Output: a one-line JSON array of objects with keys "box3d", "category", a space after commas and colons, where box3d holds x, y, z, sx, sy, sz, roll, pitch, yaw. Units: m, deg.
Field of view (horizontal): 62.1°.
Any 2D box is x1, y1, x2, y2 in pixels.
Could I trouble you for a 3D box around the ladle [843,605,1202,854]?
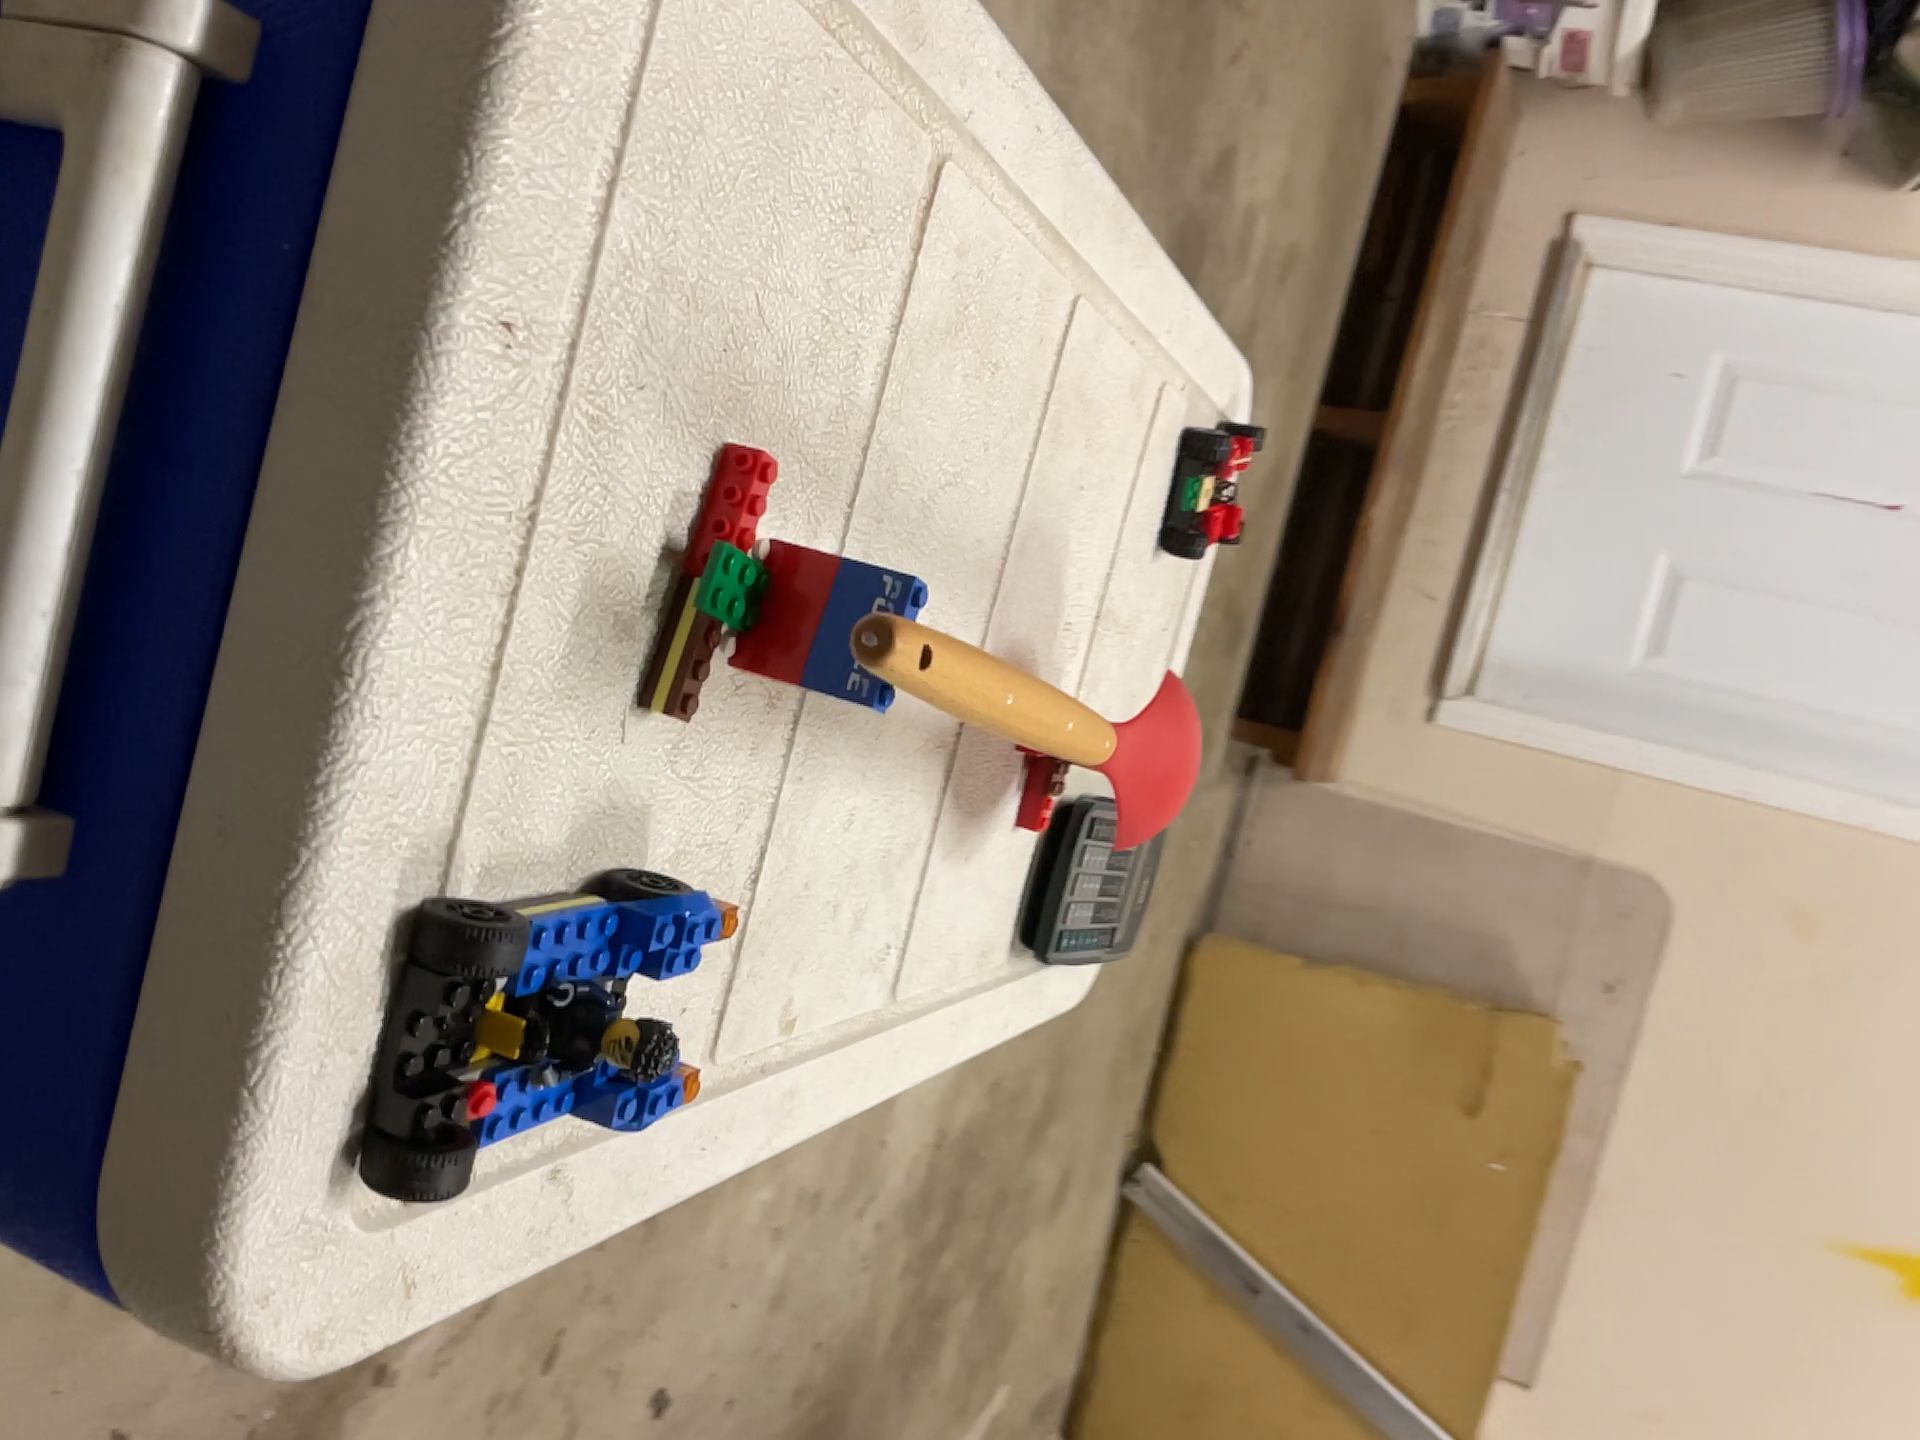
[{"box3d": [0.032, 0.001, 0.469, 0.315, 0.031, 0.069, 21, 86, -70], "category": "ladle"}]
